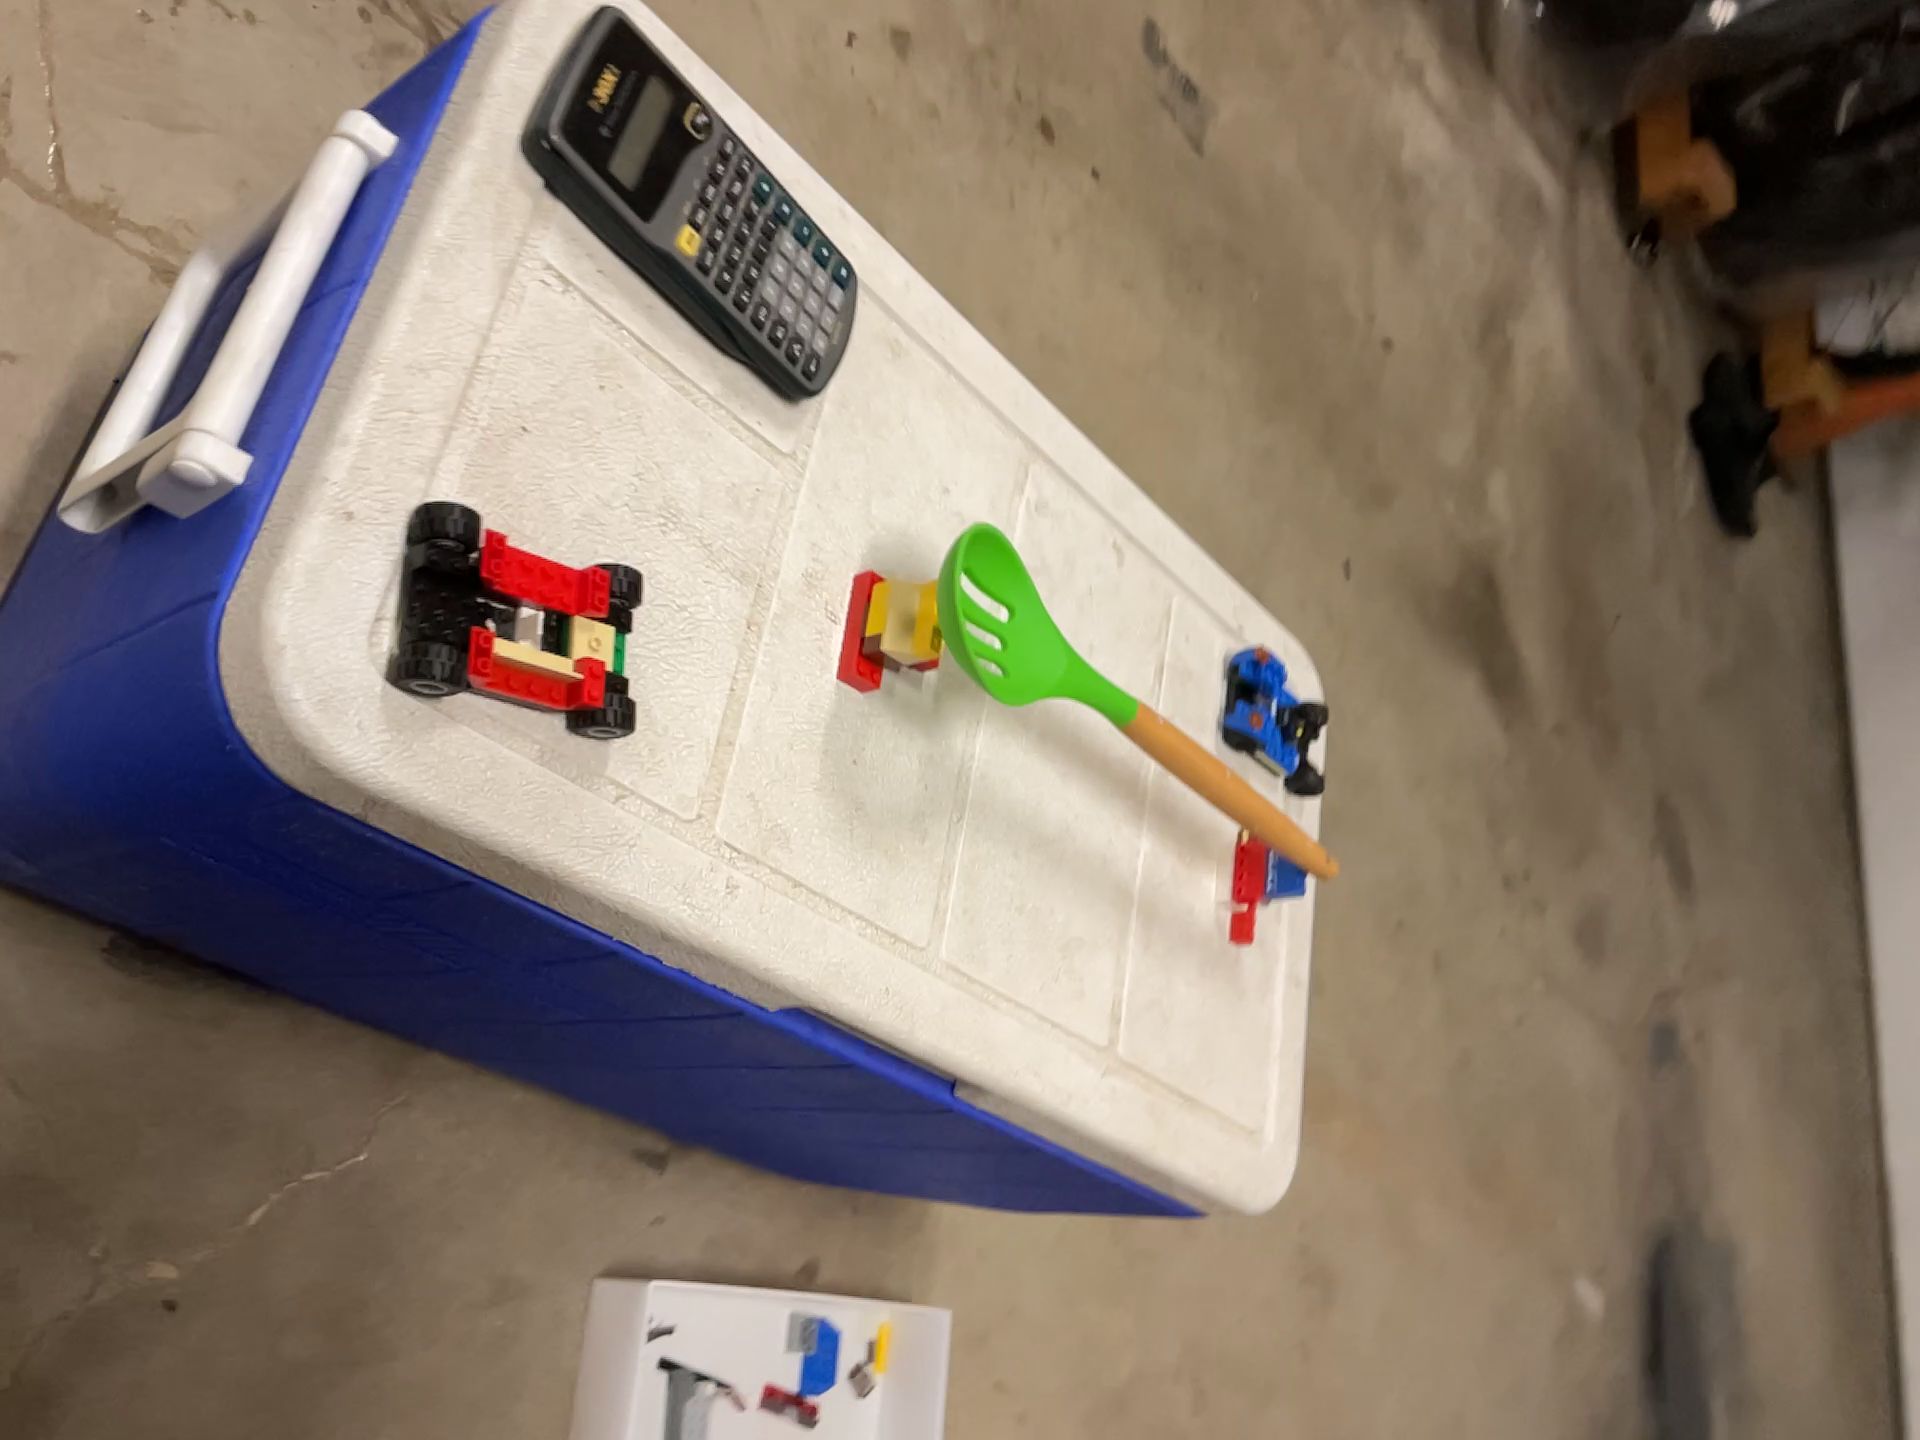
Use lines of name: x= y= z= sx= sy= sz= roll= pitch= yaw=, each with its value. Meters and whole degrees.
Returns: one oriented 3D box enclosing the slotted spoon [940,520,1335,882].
slotted spoon: x=0.087 y=0.010 z=0.702 sx=0.313 sy=0.031 sz=0.070 roll=35 pitch=52 yaw=-41
